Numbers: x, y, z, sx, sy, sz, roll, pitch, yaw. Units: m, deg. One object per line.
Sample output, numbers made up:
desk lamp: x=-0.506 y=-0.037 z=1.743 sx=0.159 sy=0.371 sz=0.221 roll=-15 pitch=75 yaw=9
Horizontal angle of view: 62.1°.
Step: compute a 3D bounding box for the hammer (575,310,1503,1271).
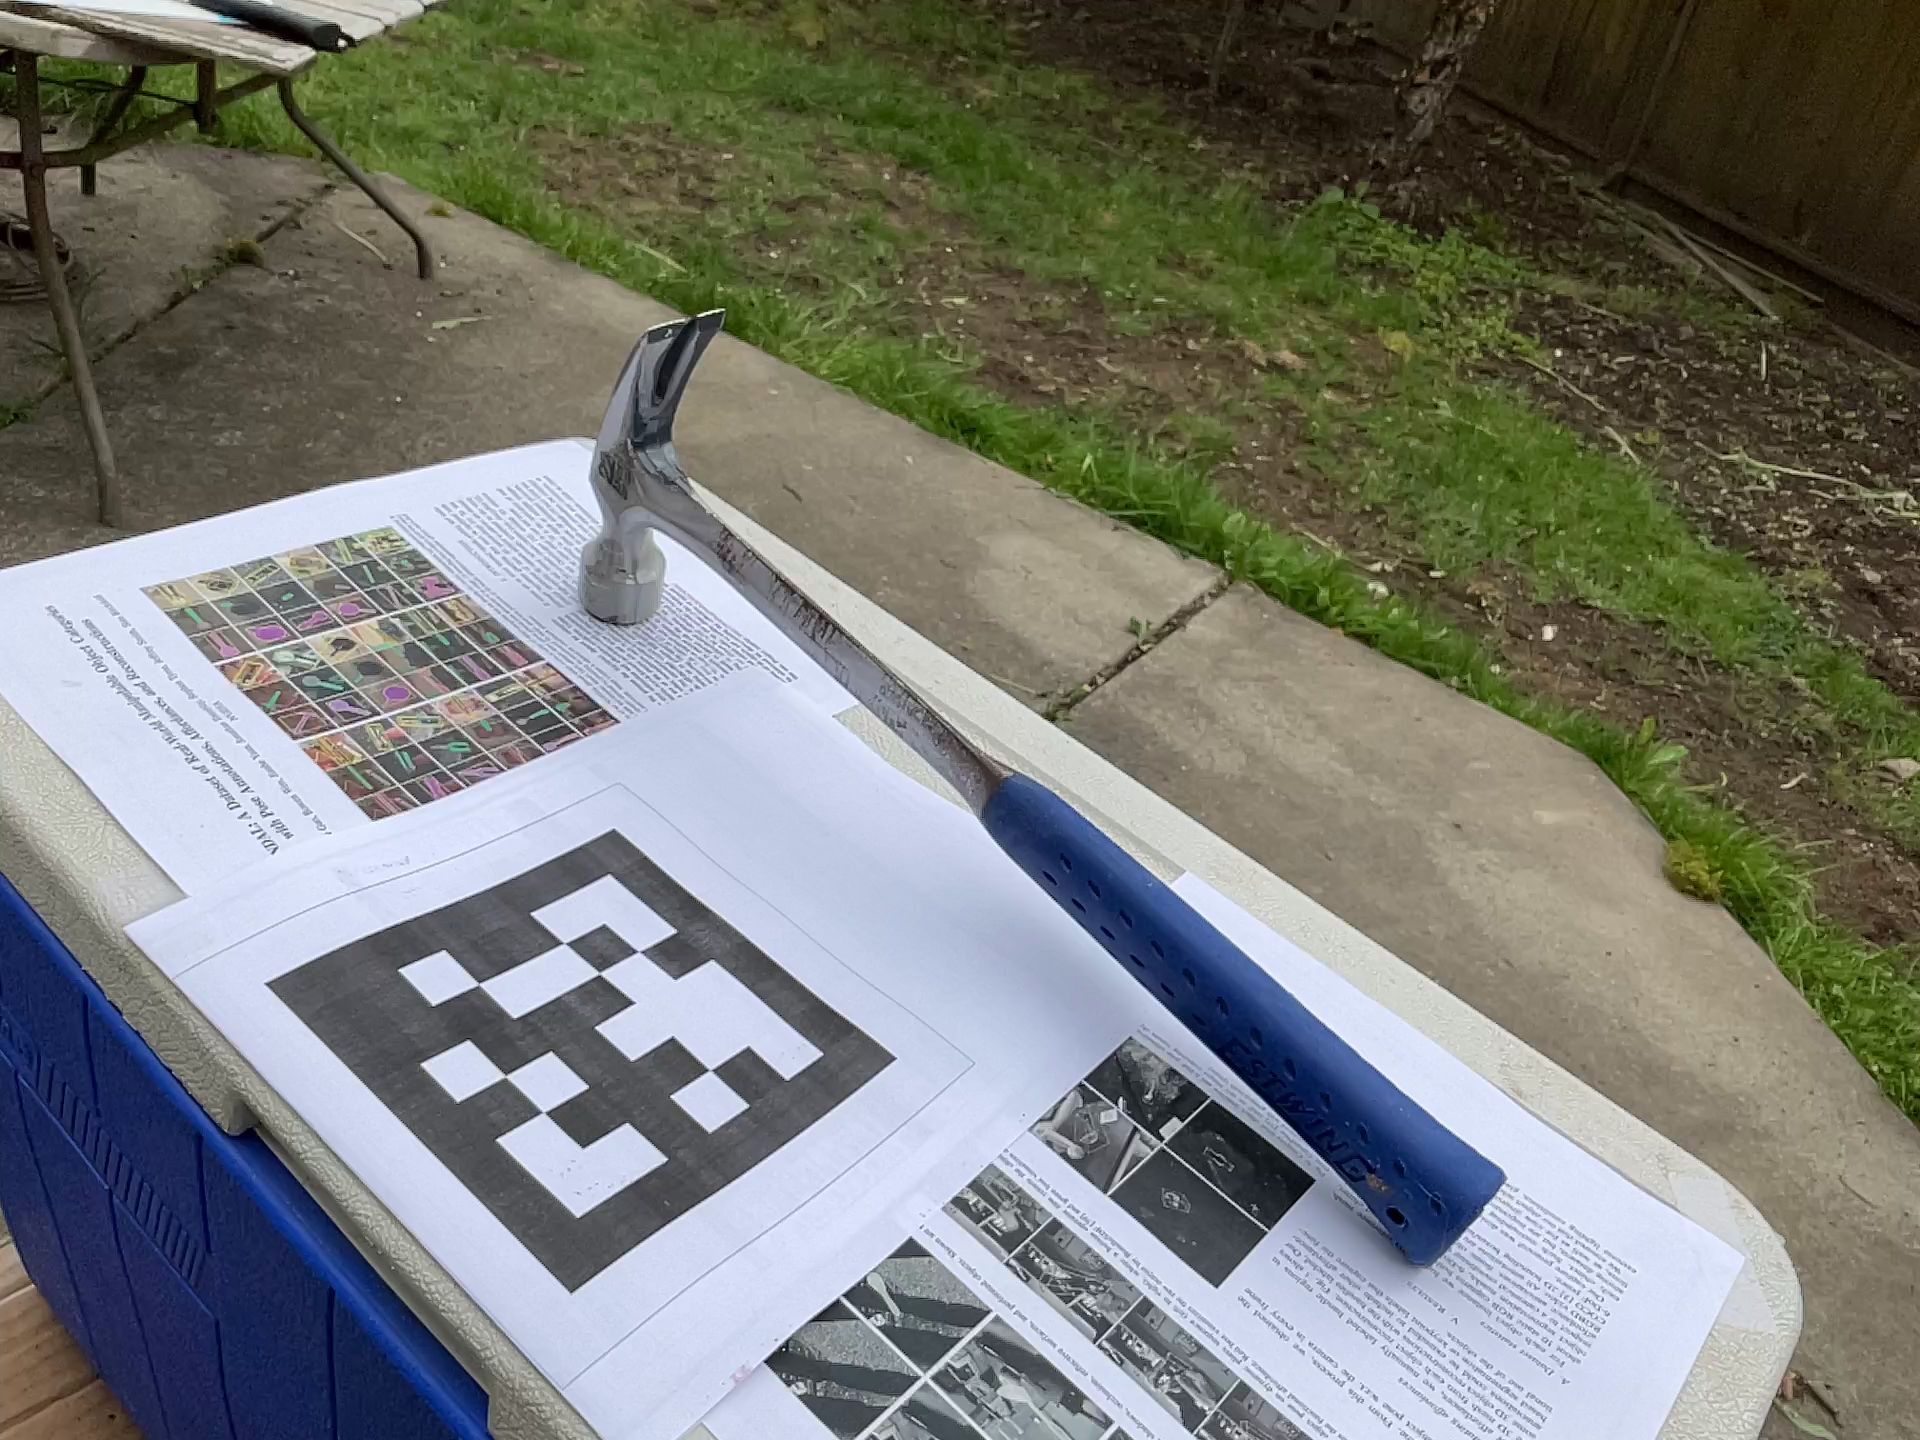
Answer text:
hammer: x=0.007 y=0.017 z=0.533 sx=0.405 sy=0.144 sz=0.035 roll=42 pitch=47 yaw=22
